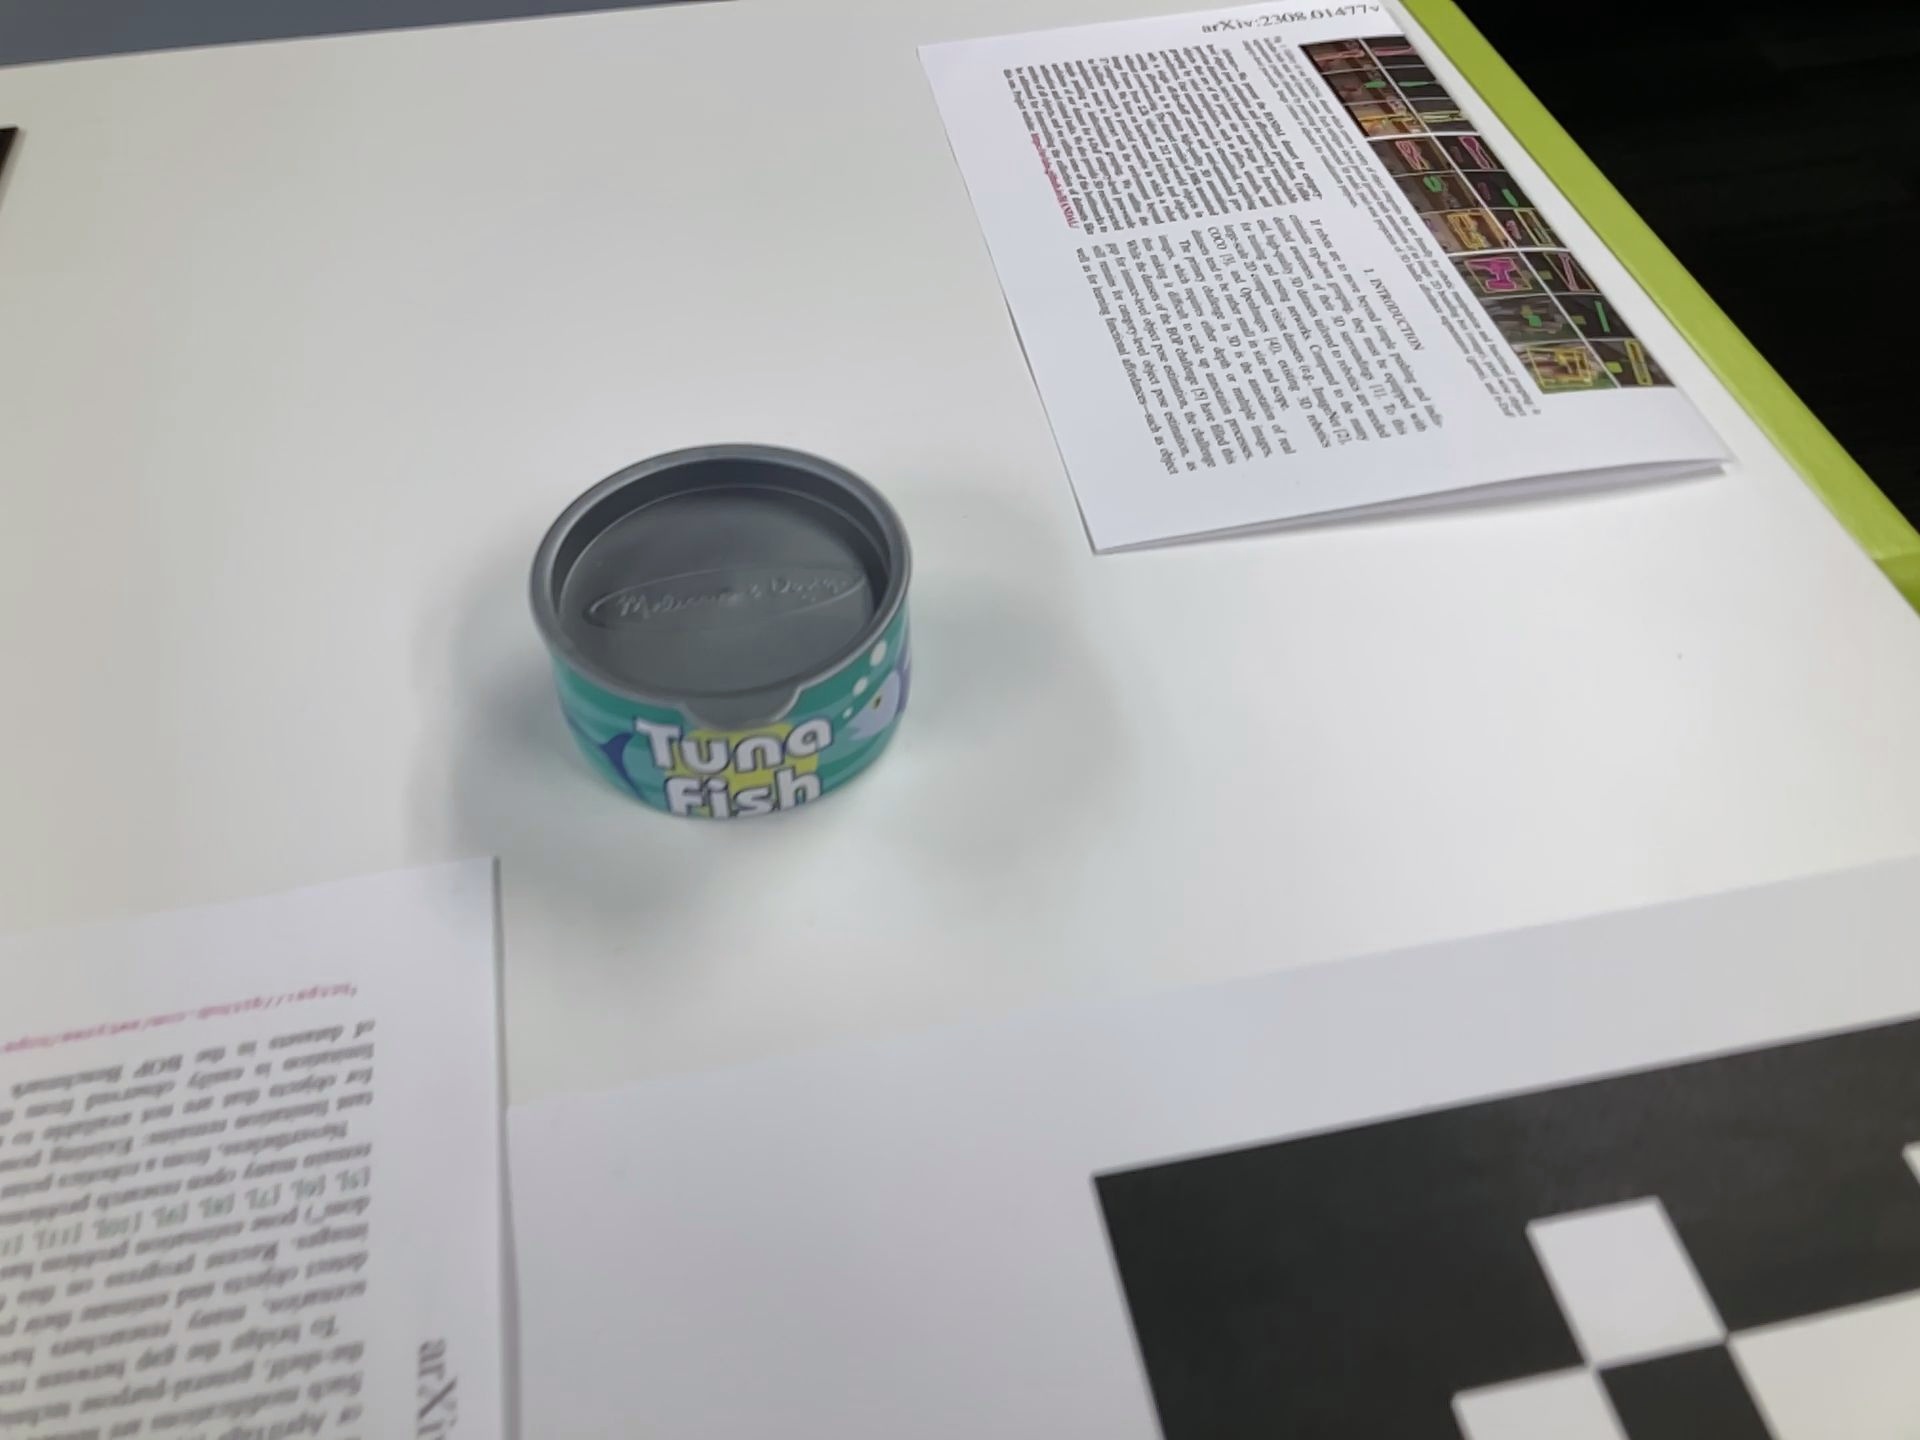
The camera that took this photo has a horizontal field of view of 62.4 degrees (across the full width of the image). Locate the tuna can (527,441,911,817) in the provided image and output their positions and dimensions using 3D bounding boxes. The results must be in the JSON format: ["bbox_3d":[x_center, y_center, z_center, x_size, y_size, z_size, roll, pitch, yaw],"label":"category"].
[{"bbox_3d":[-0.041,-0.015,0.285,0.071,0.033,0.071,0,49,-1],"label":"tuna can"}]
